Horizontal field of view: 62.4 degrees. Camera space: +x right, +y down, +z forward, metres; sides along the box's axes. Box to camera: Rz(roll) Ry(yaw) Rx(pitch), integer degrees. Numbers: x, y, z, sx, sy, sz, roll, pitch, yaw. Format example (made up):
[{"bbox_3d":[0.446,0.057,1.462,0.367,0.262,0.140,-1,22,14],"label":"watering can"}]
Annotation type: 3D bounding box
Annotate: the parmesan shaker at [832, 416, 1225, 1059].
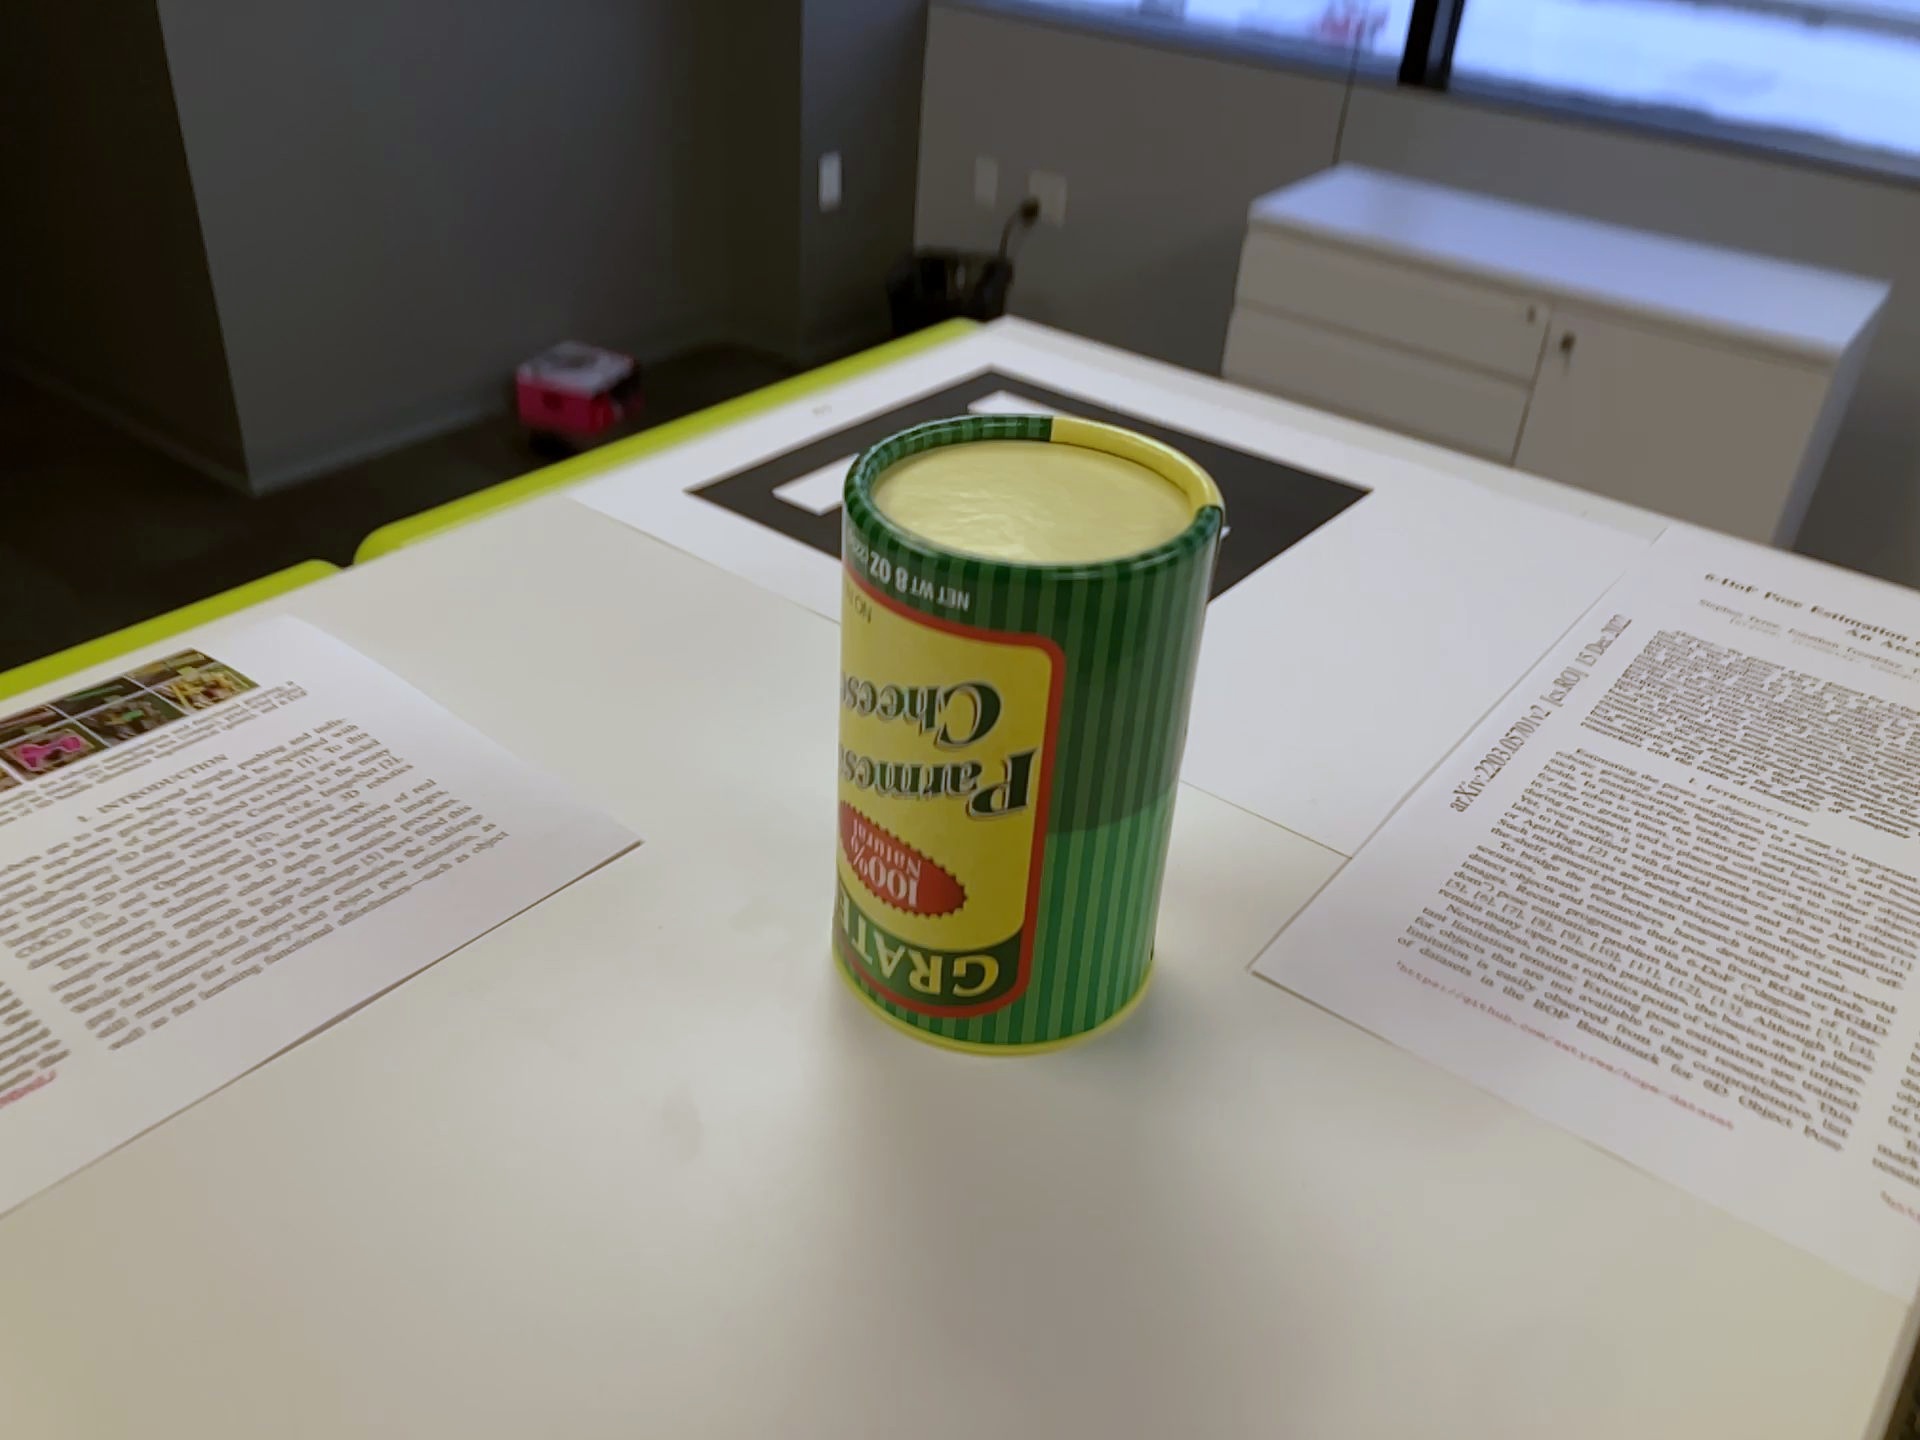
[{"bbox_3d":[0.007,0.002,0.299,0.071,0.103,0.071,2,32,-1],"label":"parmesan shaker"}]
